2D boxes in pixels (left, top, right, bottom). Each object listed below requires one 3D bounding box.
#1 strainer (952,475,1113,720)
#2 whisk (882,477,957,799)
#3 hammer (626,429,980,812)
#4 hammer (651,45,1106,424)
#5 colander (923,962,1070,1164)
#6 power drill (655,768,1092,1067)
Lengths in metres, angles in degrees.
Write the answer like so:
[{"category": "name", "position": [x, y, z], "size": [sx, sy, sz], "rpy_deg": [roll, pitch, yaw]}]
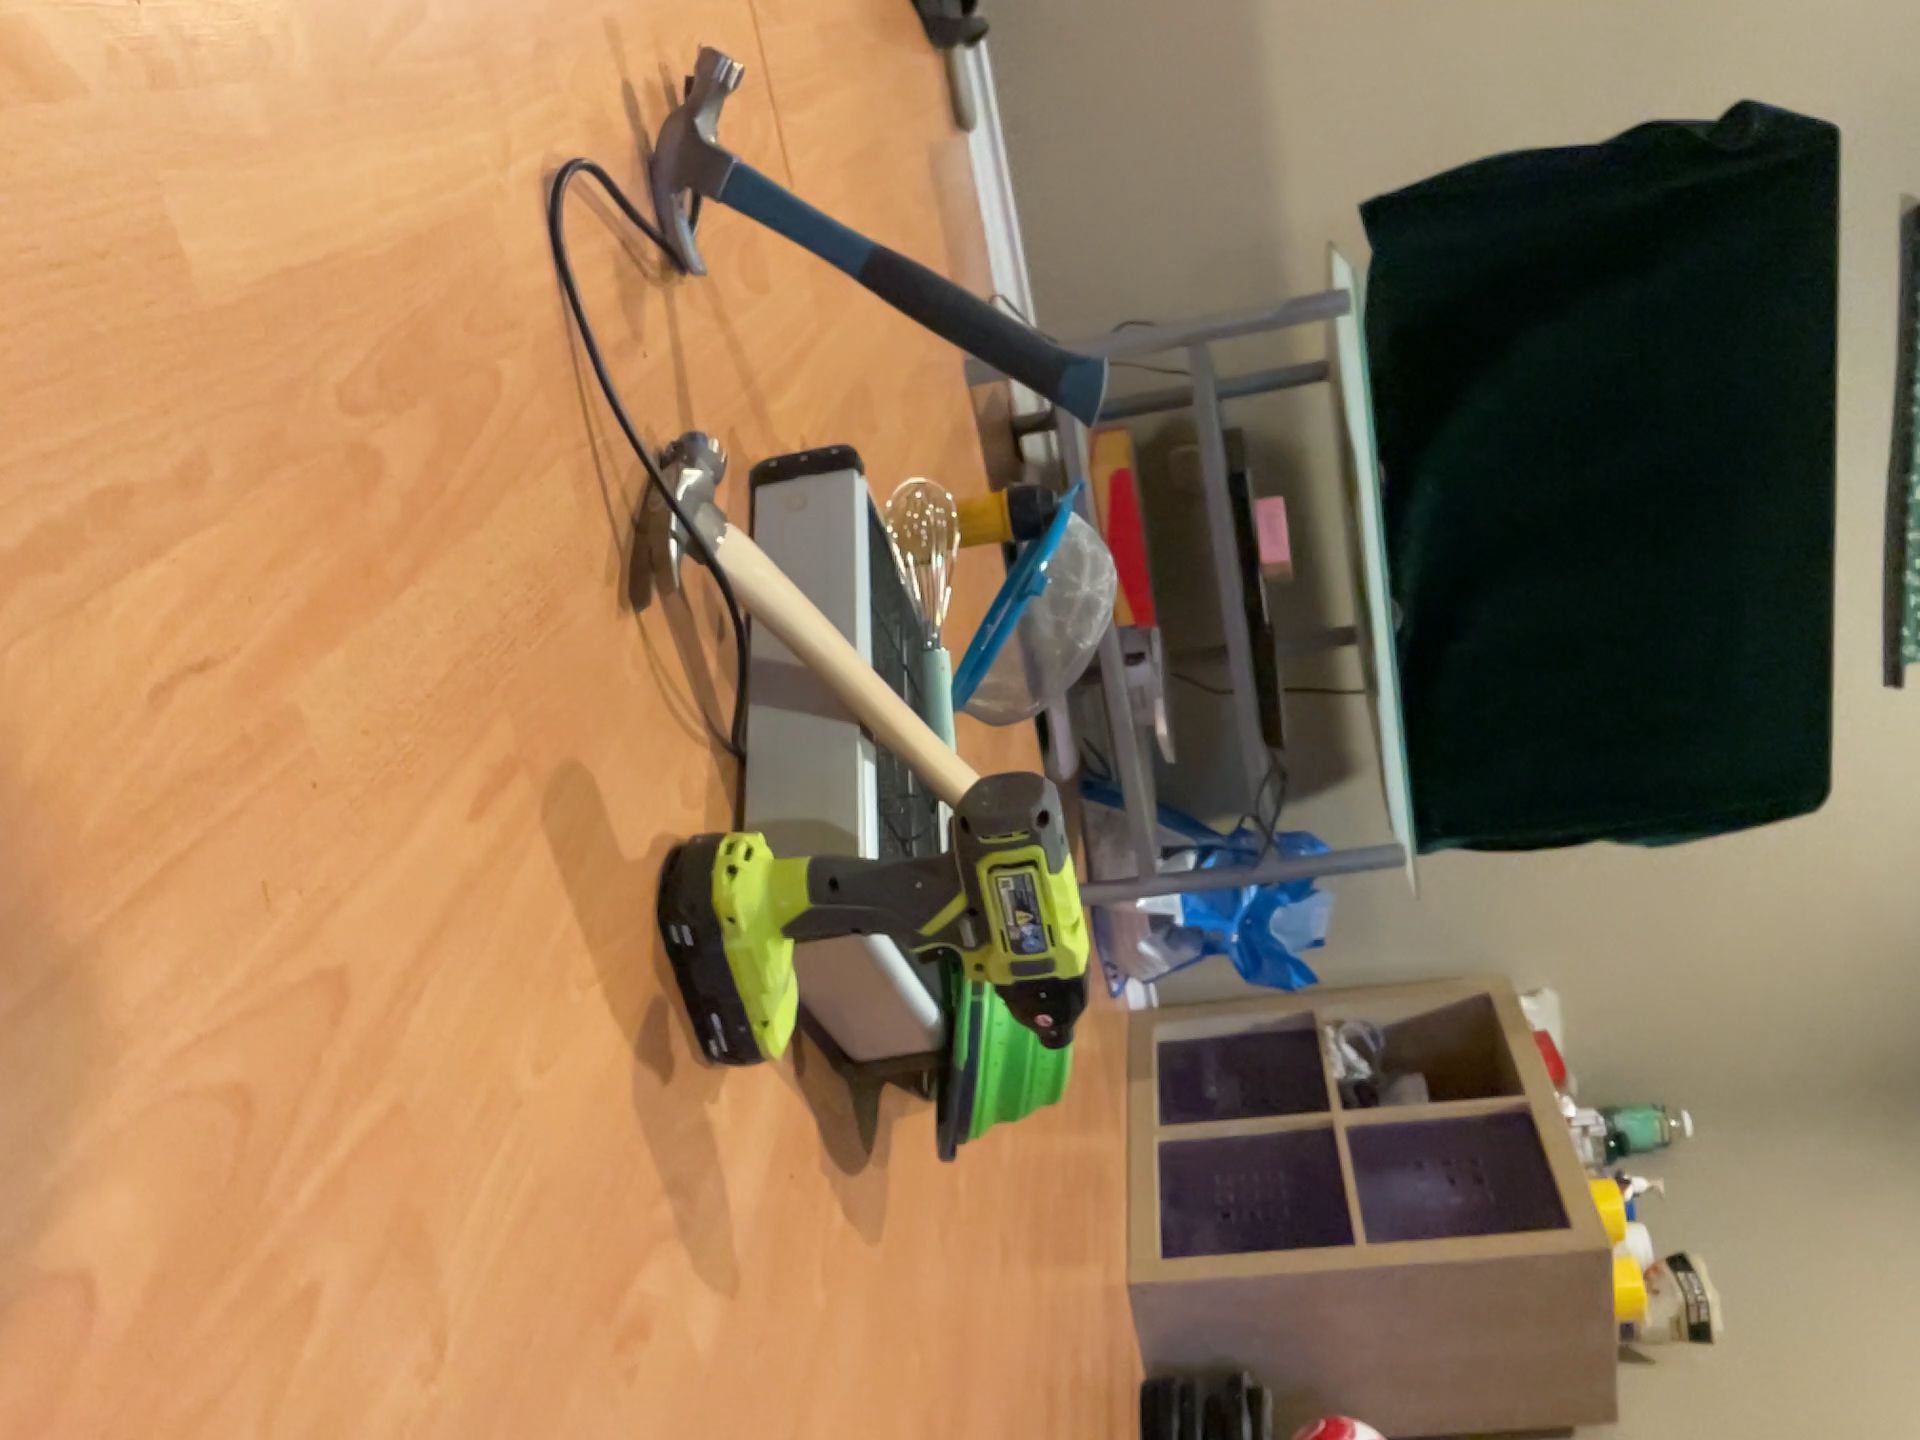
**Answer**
[{"category": "strainer", "position": [0.046, -0.033, 1.398], "size": [0.340, 0.095, 0.211], "rpy_deg": [-61, -177, 36]}, {"category": "whisk", "position": [-0.022, -0.062, 1.215], "size": [0.058, 0.059, 0.246], "rpy_deg": [178, -94, -70]}, {"category": "hammer", "position": [-0.055, -0.002, 1.023], "size": [0.410, 0.038, 0.146], "rpy_deg": [45, 29, -32]}, {"category": "hammer", "position": [-0.049, -0.292, 1.034], "size": [0.128, 0.331, 0.033], "rpy_deg": [-59, -177, 18]}, {"category": "colander", "position": [0.027, 0.265, 1.293], "size": [0.396, 0.094, 0.204], "rpy_deg": [101, -7, -67]}, {"category": "power drill", "position": [-0.041, 0.123, 0.896], "size": [0.080, 0.223, 0.171], "rpy_deg": [-80, 160, -61]}]
